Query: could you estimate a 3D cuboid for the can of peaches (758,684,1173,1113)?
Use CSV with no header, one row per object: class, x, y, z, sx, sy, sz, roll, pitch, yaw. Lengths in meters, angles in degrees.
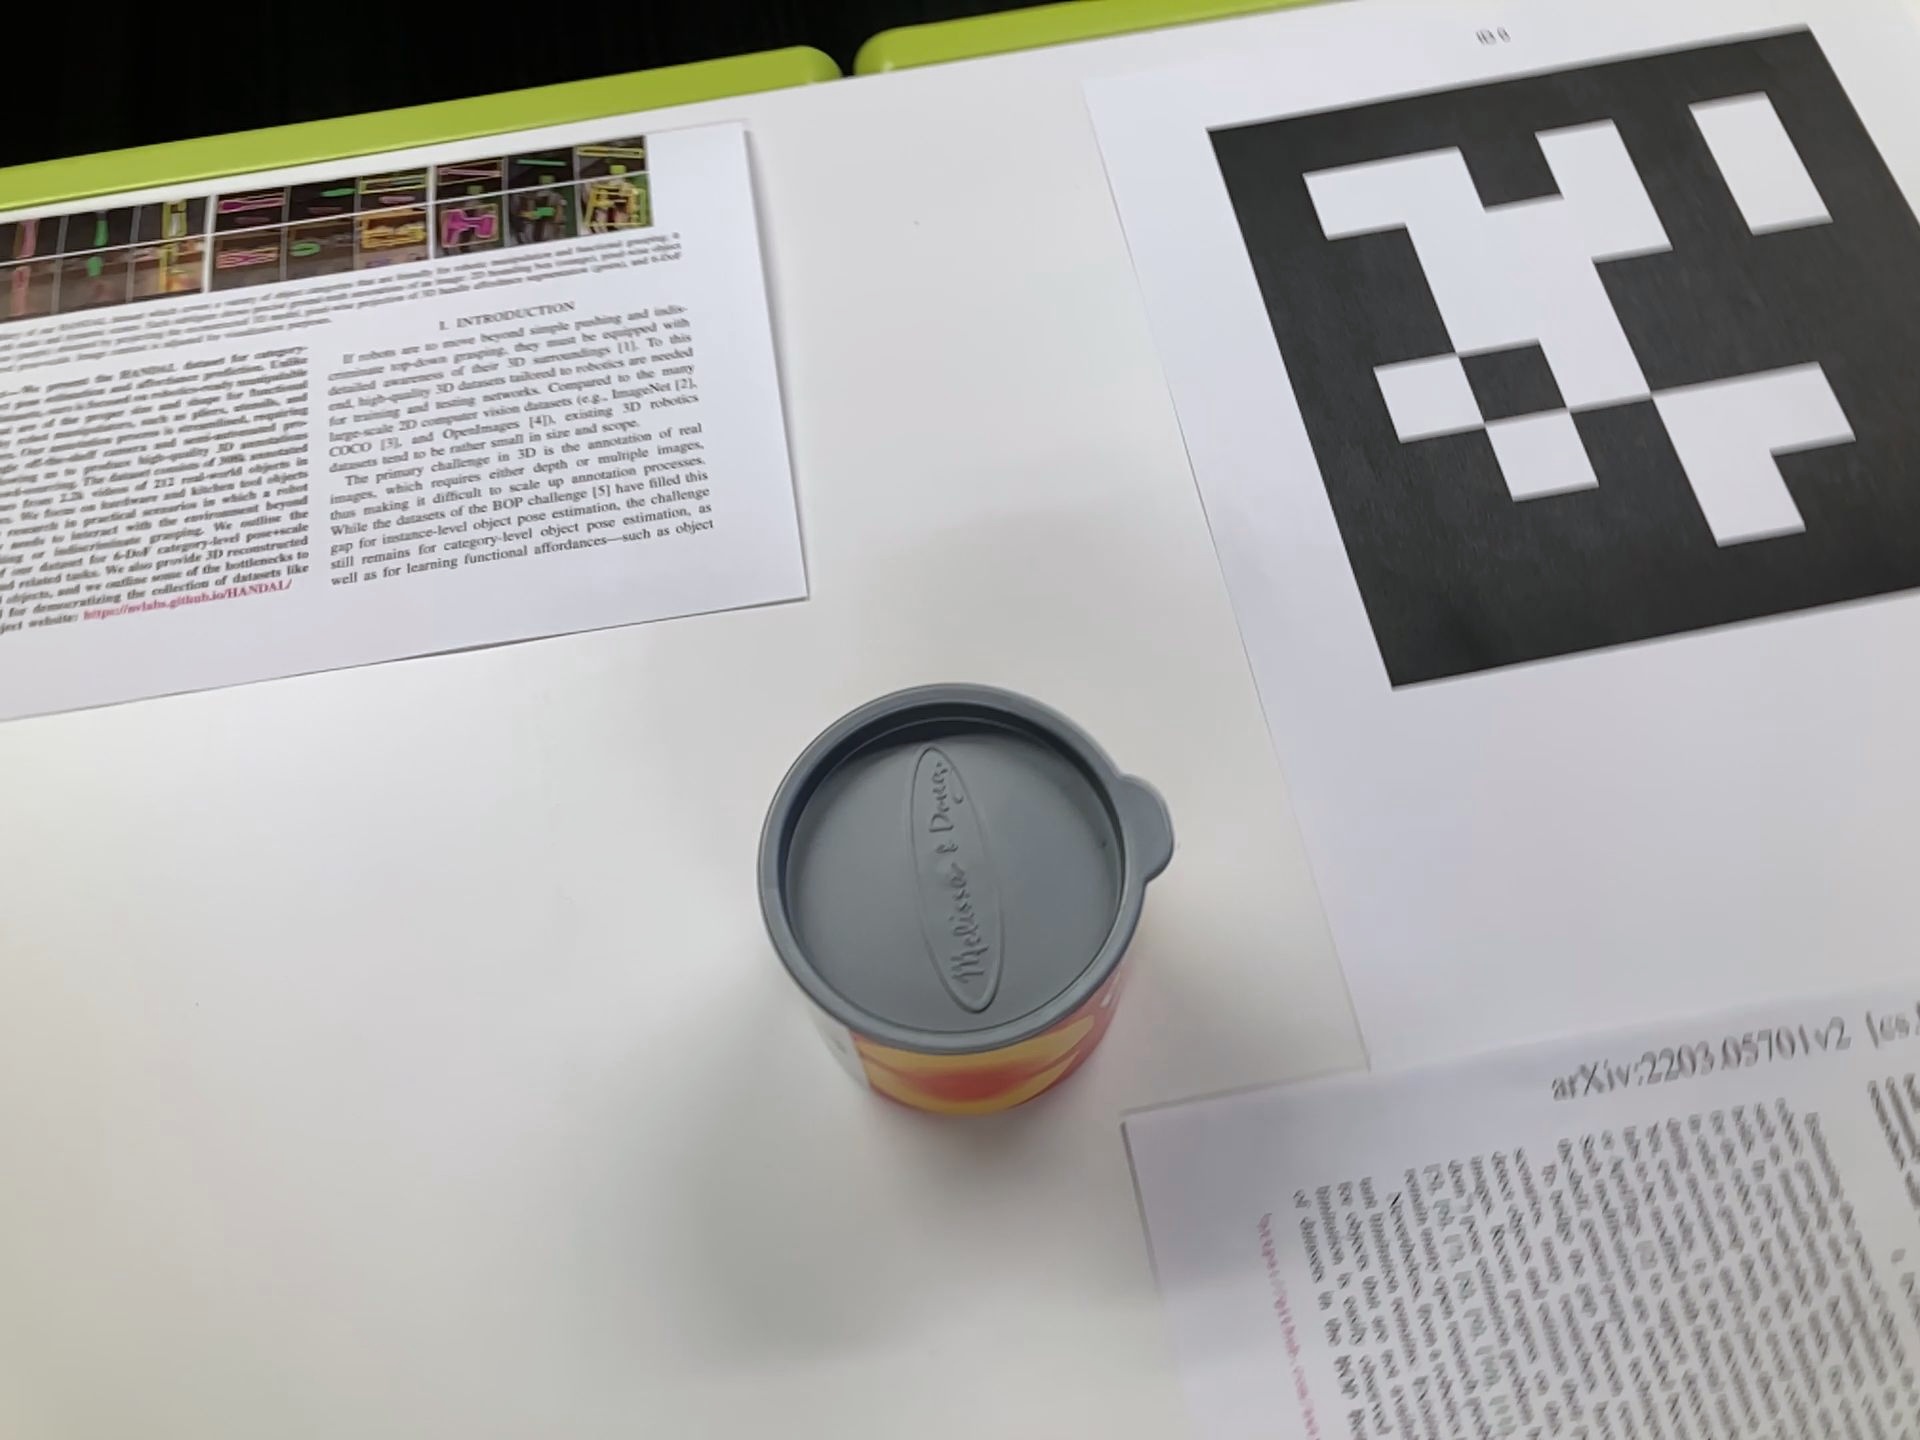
can of peaches,0.002,0.035,0.296,0.071,0.058,0.071,-1,65,1
